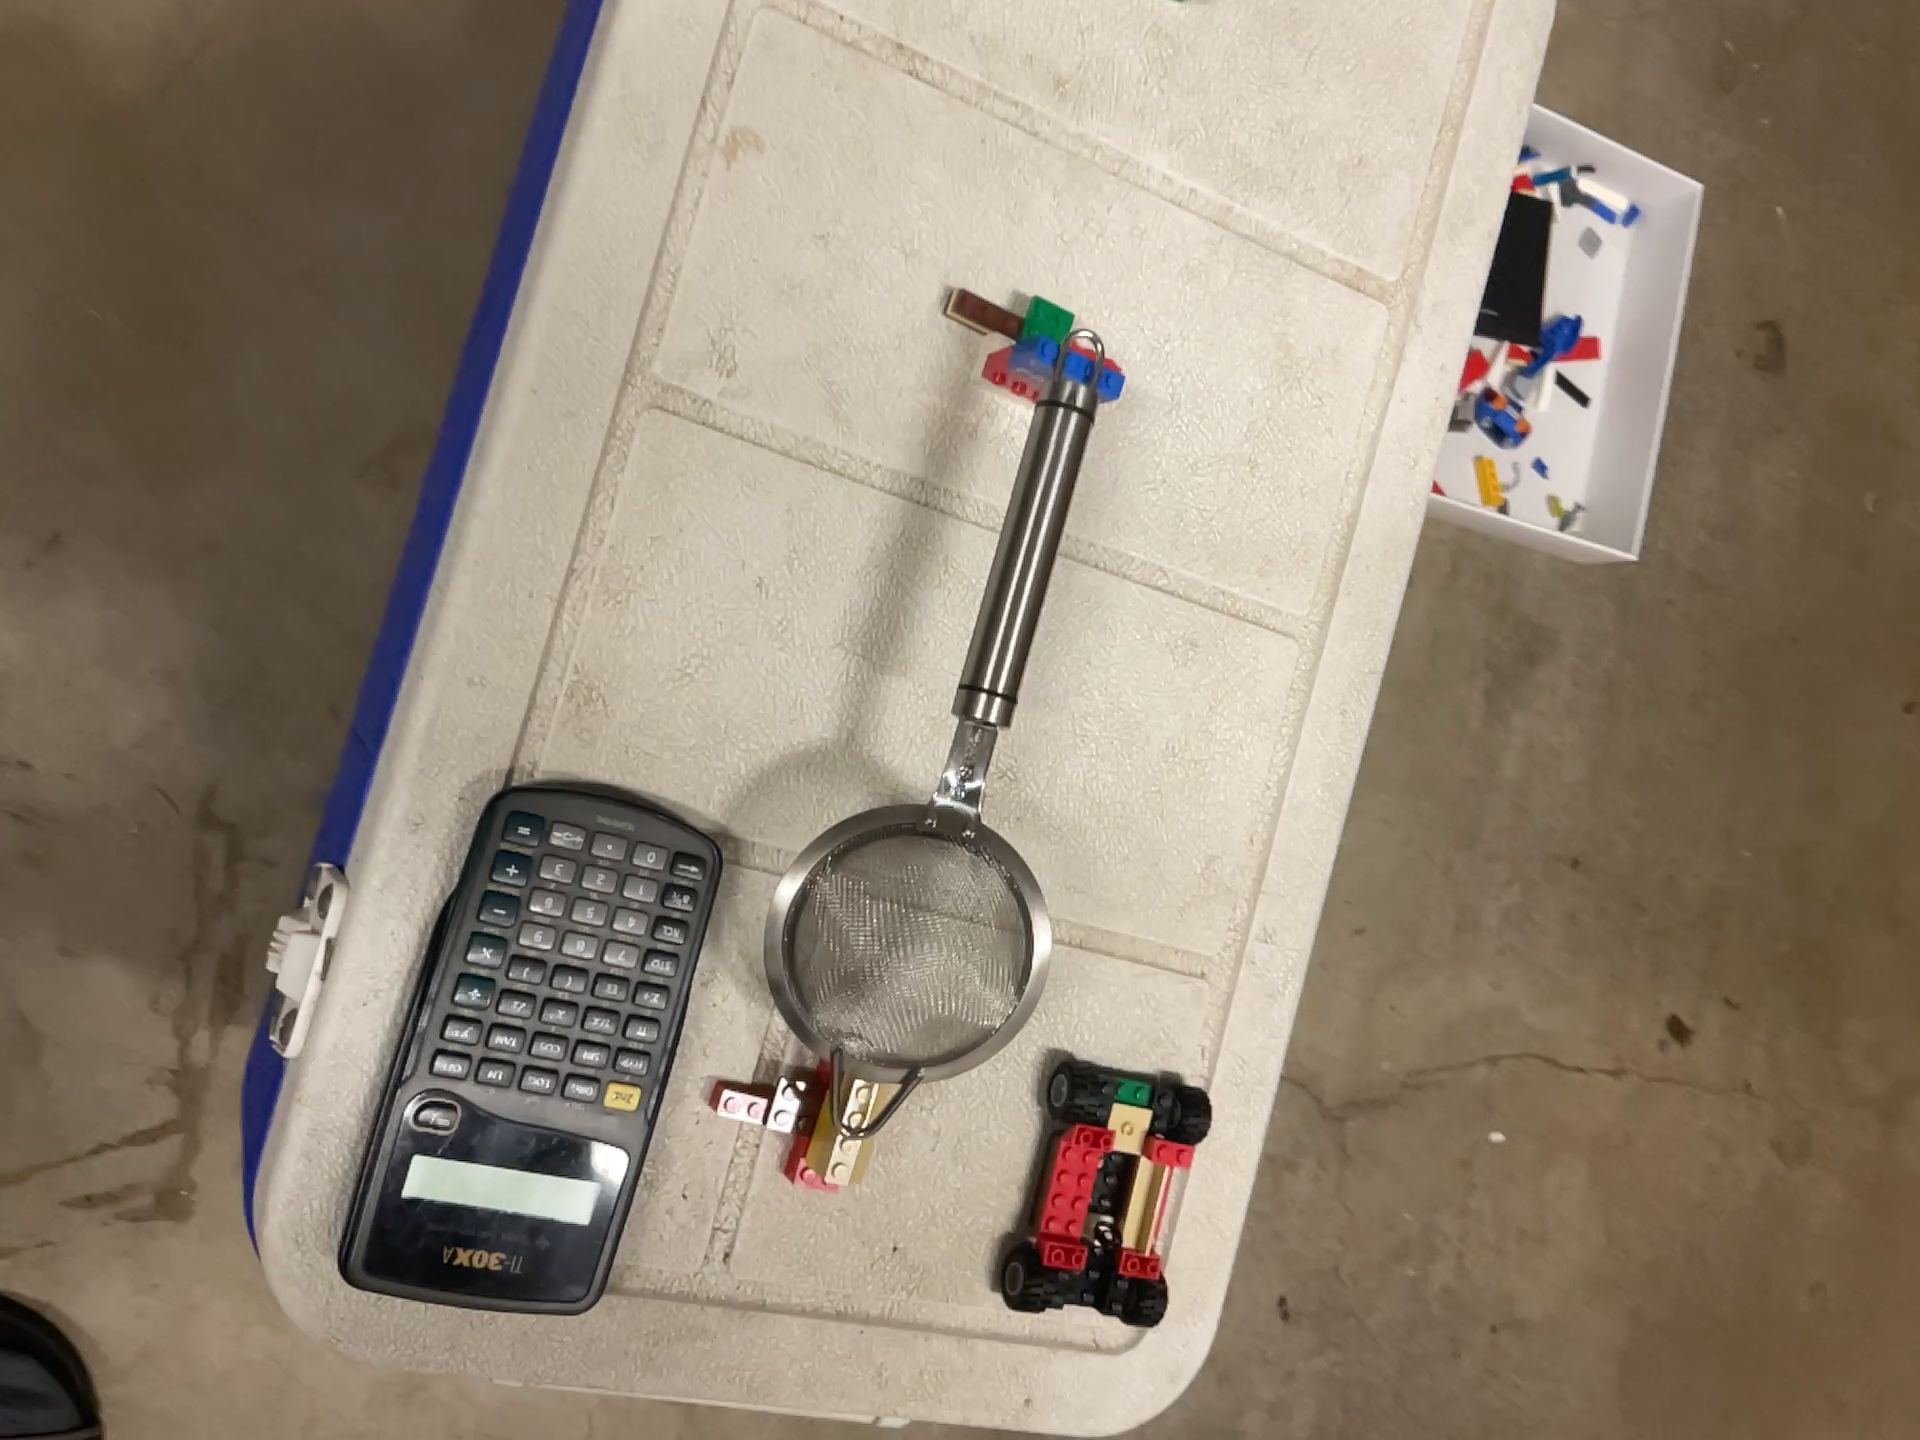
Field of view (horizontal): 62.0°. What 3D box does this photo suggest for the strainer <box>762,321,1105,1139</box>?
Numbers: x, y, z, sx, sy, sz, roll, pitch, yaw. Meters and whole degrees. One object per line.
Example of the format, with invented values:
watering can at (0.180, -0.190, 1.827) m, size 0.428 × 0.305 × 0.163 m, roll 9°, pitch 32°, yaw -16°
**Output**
strainer at (0.004, 0.001, 0.475) m, size 0.087 × 0.050 × 0.258 m, roll 16°, pitch 84°, yaw -8°
